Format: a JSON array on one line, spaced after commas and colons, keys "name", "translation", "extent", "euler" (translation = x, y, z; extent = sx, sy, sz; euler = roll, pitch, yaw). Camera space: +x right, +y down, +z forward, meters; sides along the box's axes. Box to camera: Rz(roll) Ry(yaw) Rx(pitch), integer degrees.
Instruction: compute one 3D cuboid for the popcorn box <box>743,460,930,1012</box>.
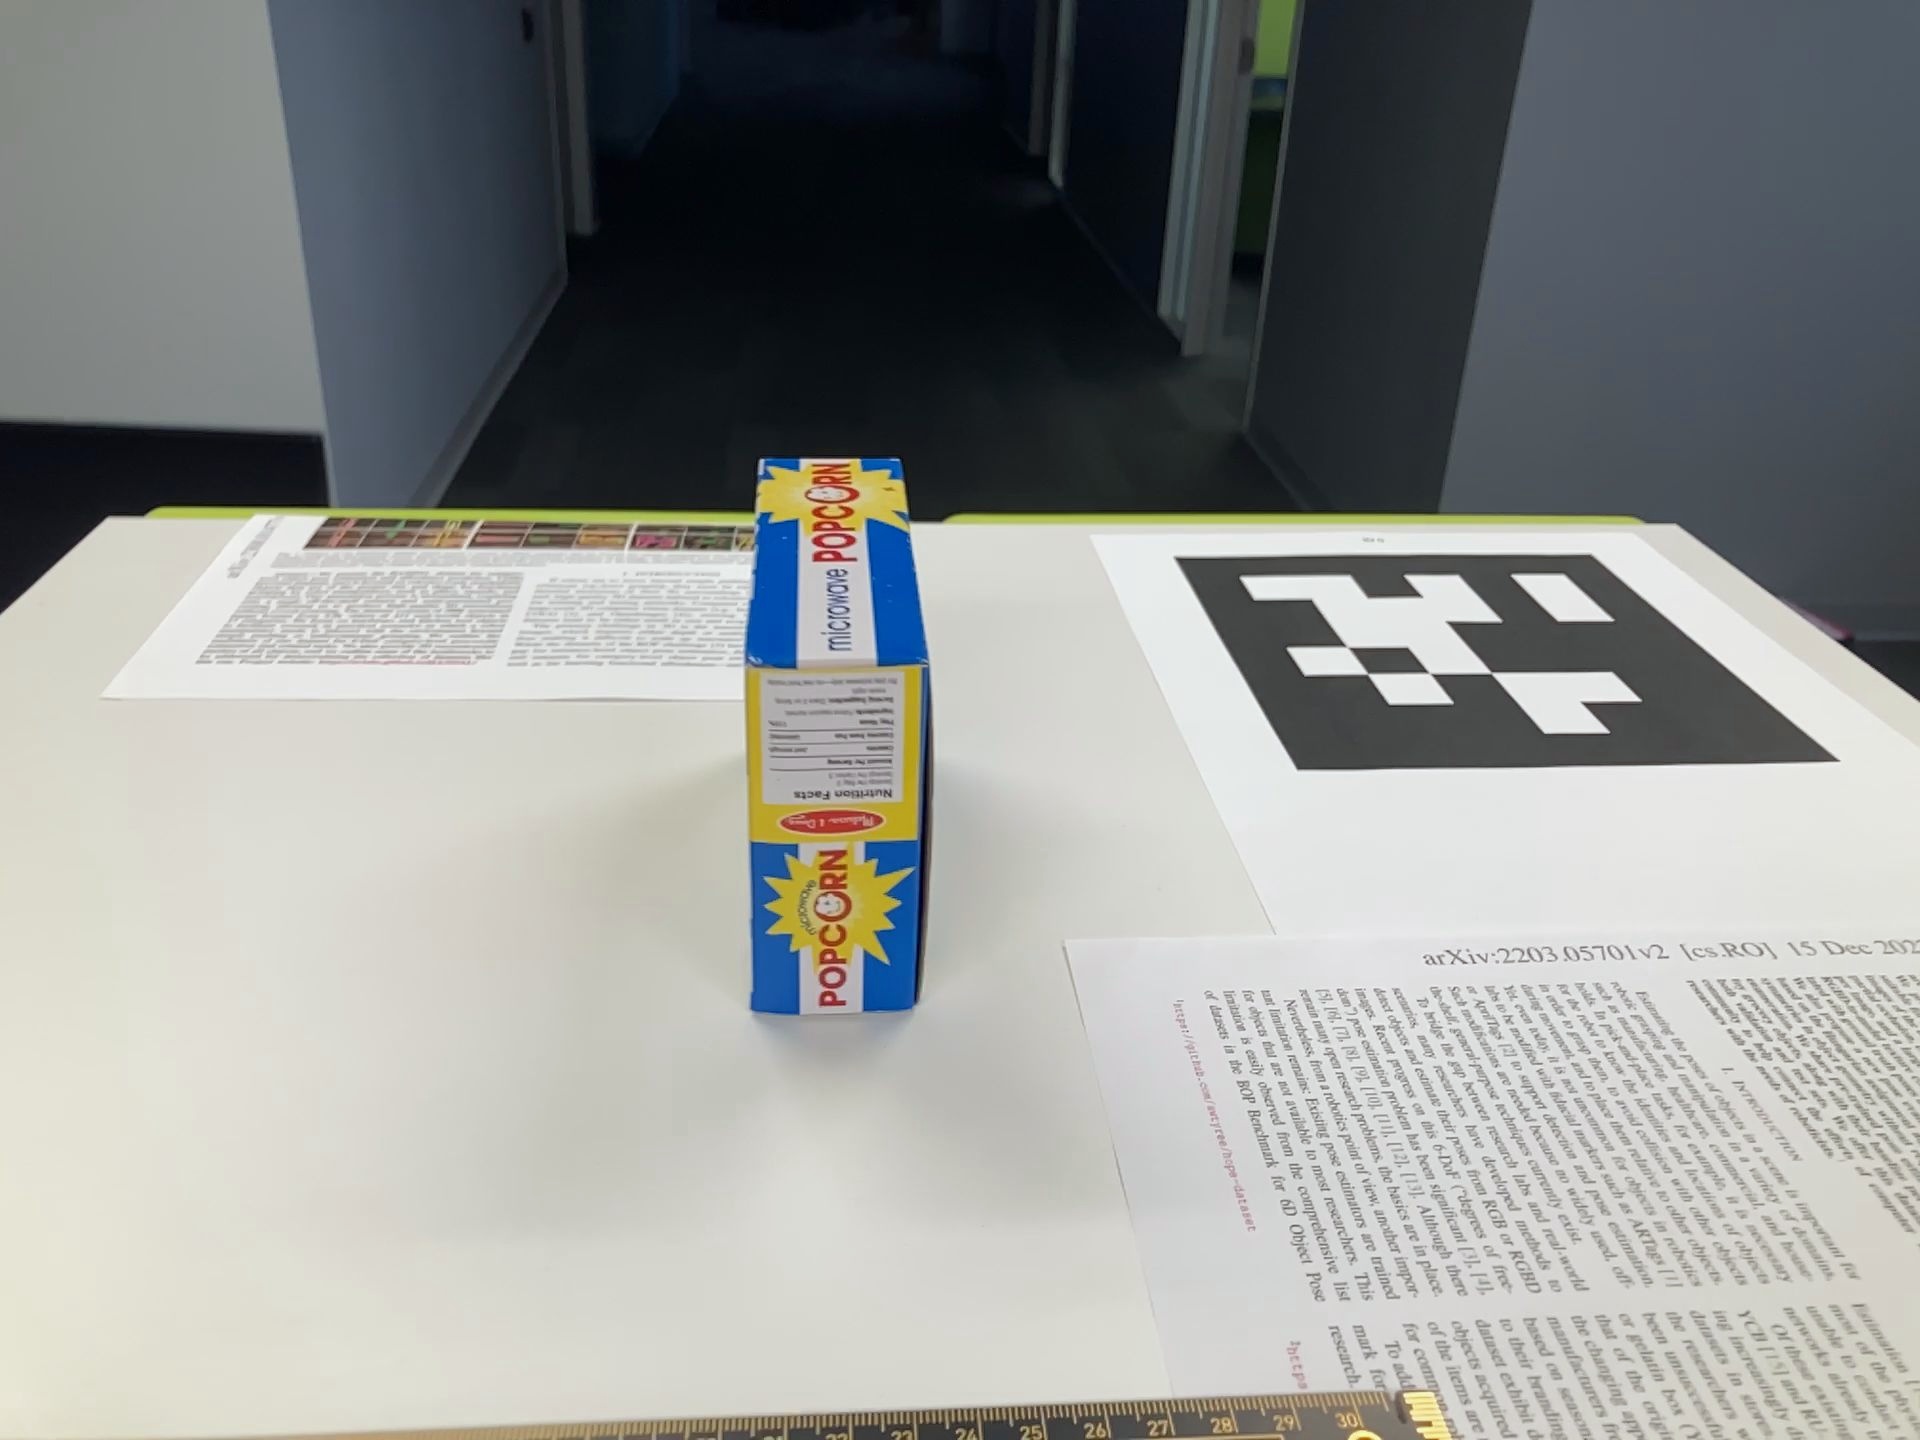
[{"name": "popcorn box", "translation": [-0.030, -0.003, 0.378], "extent": [0.038, 0.085, 0.126], "euler": [-1, 28, -5]}]
